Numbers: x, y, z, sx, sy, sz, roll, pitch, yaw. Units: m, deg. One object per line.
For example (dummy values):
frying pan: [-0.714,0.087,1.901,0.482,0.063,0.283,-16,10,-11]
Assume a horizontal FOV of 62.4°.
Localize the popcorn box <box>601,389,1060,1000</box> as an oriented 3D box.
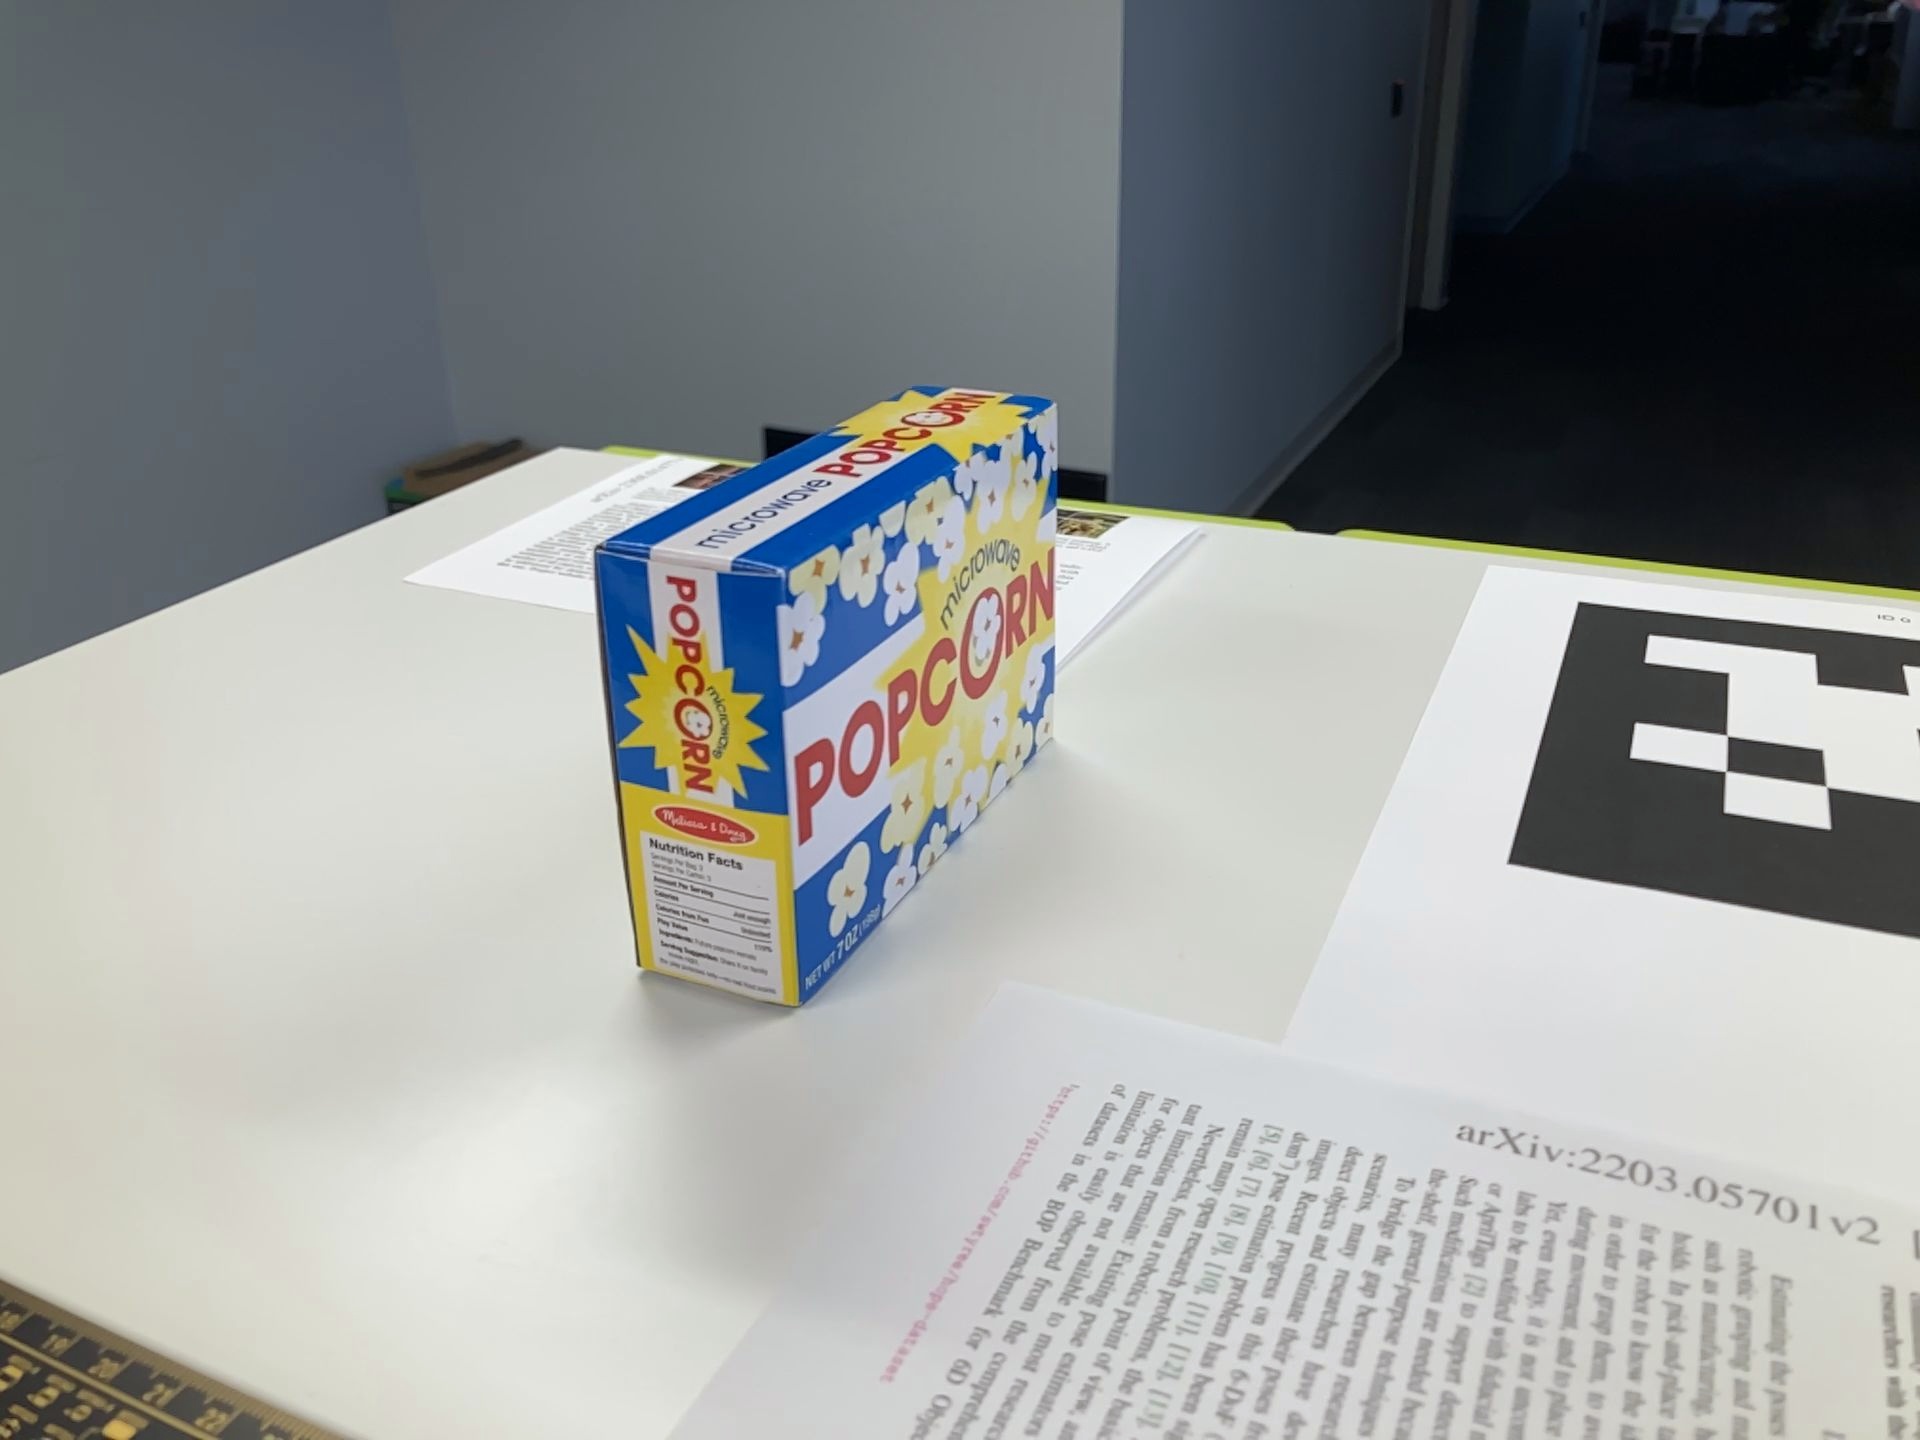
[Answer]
popcorn box: [-0.019,-0.013,0.328,0.038,0.085,0.126,10,27,23]
